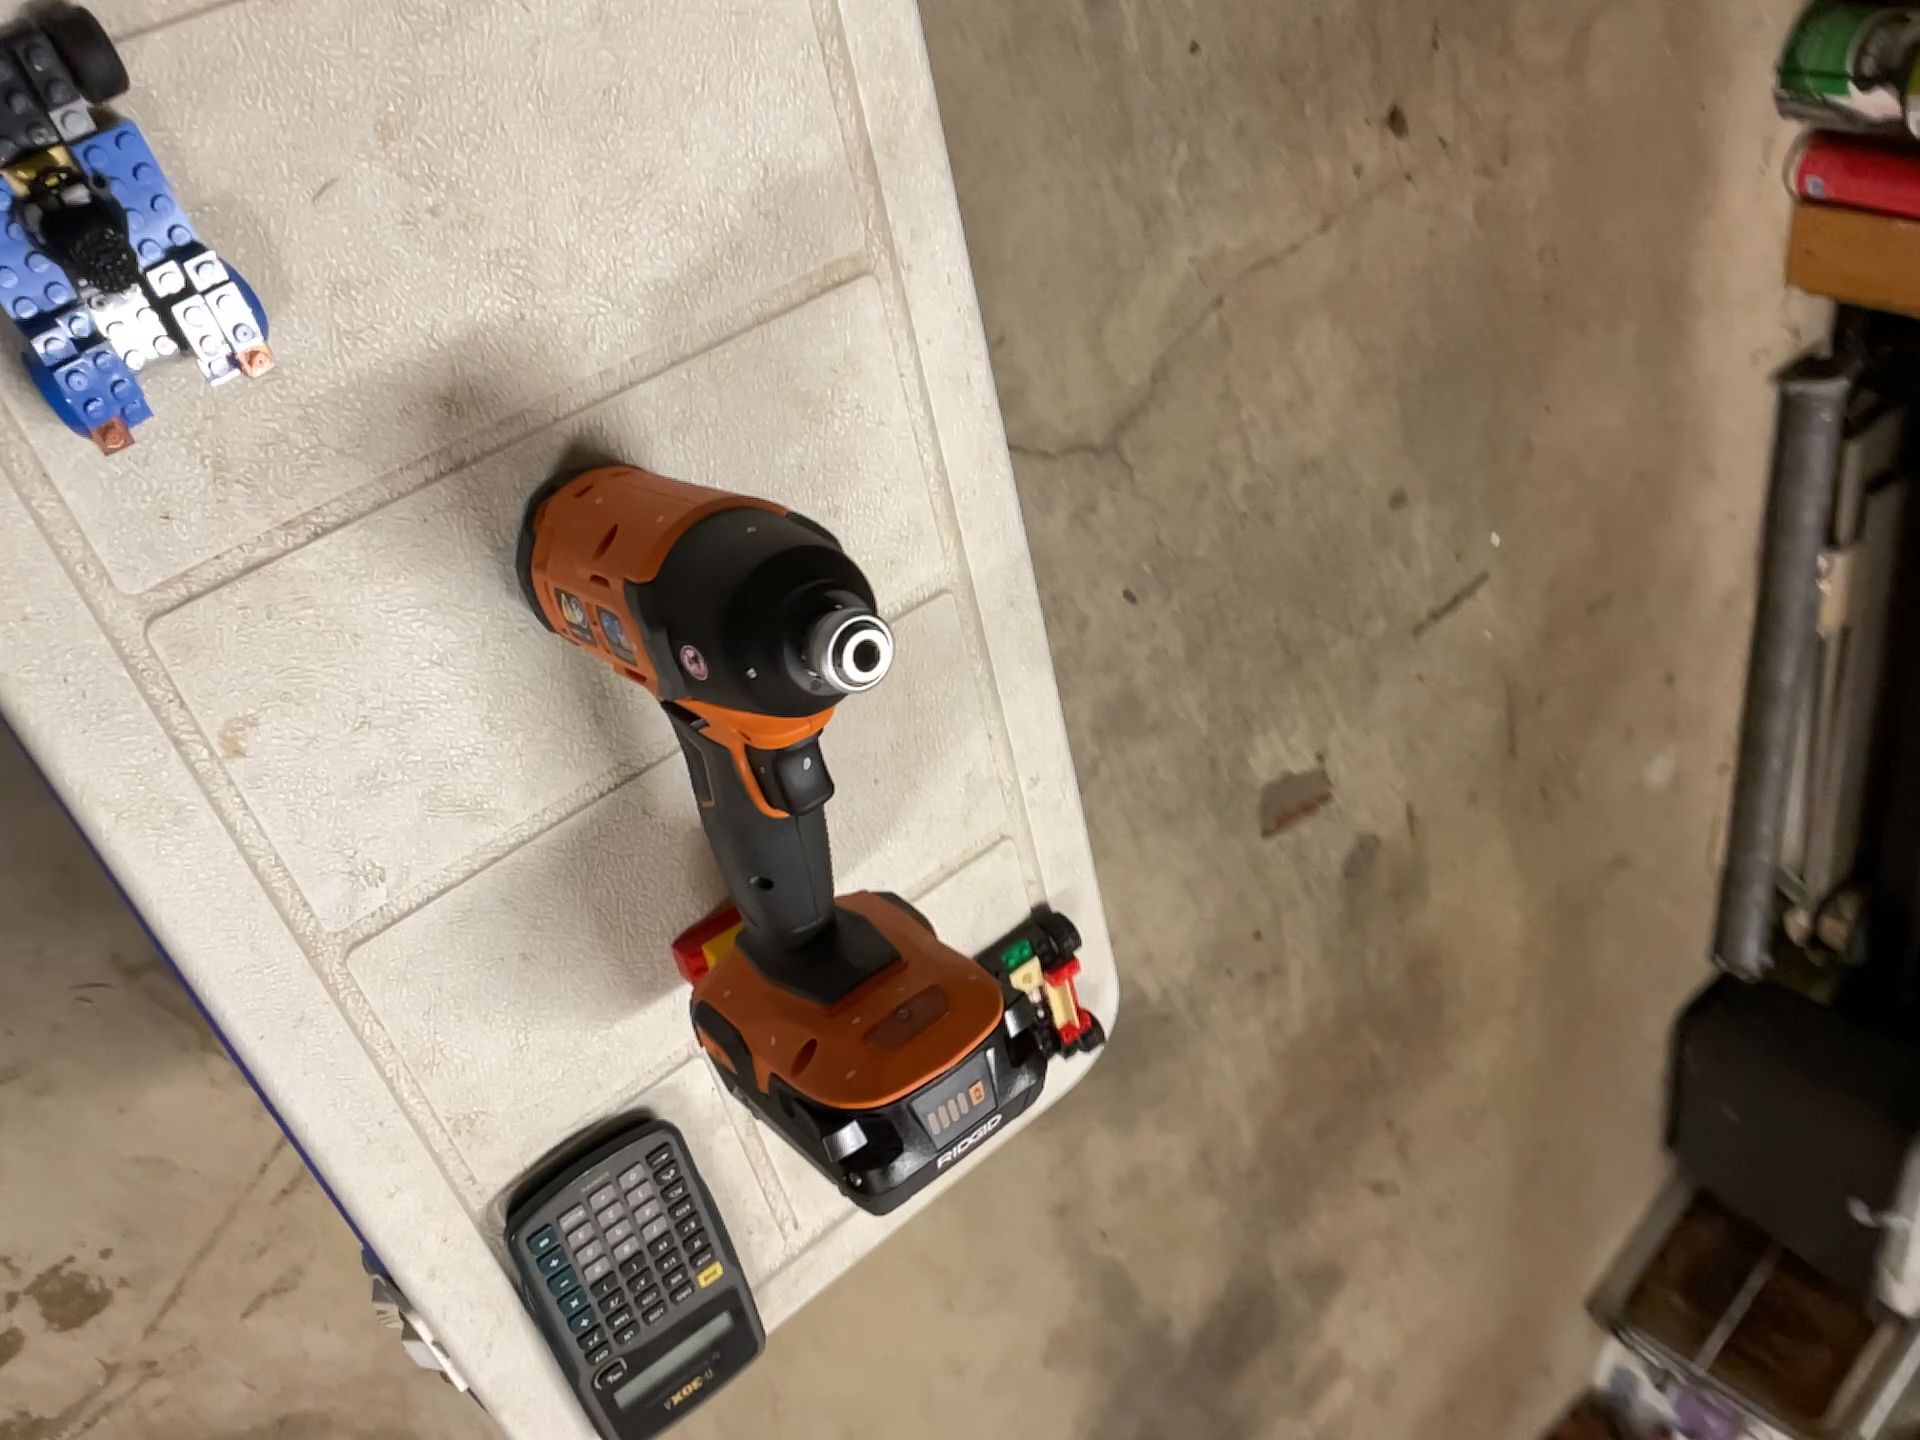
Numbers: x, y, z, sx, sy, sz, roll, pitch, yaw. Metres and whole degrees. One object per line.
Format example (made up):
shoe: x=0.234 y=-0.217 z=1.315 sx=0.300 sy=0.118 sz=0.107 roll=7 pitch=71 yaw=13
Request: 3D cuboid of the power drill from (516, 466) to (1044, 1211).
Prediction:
power drill: x=-0.050 y=0.036 z=0.493 sx=0.084 sy=0.164 sz=0.226 roll=-30 pitch=118 yaw=-26
